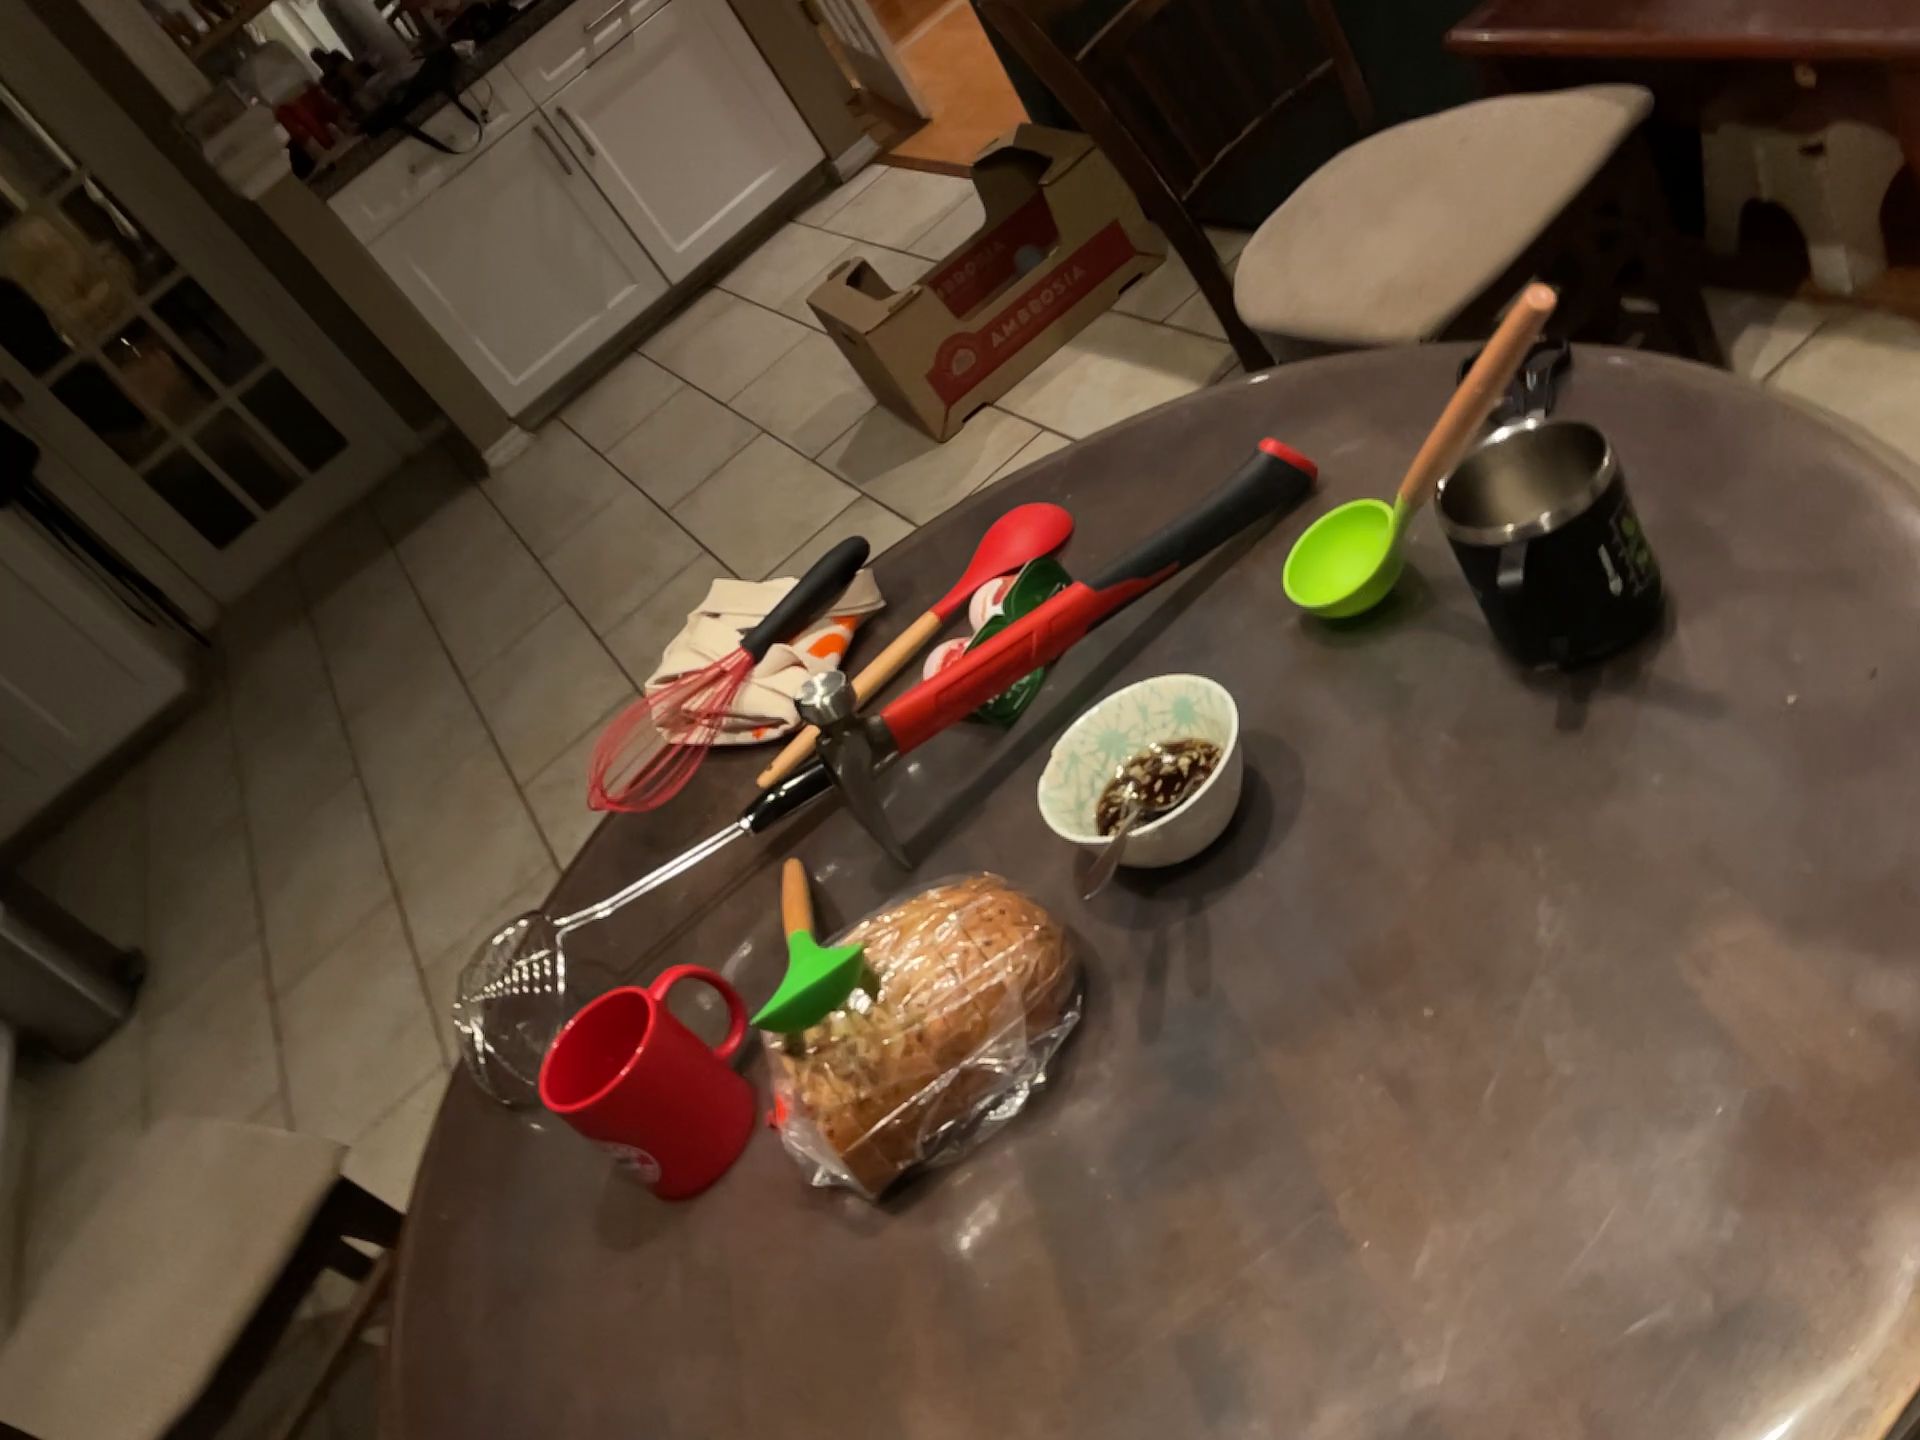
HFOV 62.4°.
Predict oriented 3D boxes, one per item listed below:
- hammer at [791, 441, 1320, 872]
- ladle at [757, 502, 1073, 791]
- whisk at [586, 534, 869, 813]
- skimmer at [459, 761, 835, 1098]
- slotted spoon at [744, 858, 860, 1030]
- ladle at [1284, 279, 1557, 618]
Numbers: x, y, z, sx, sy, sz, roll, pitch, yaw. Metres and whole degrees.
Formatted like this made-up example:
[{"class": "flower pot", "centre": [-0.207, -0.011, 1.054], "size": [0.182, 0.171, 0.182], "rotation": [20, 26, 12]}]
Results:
[{"class": "hammer", "centre": [0.081, -0.057, 1.028], "size": [0.386, 0.143, 0.038], "rotation": [-33, 32, -14]}, {"class": "ladle", "centre": [-0.036, -0.059, 1.187], "size": [0.315, 0.031, 0.069], "rotation": [-45, 33, -7]}, {"class": "whisk", "centre": [-0.174, -0.038, 1.200], "size": [0.296, 0.073, 0.073], "rotation": [-46, 32, -13]}, {"class": "skimmer", "centre": [-0.189, 0.124, 1.104], "size": [0.363, 0.090, 0.127], "rotation": [-31, 40, -9]}, {"class": "slotted spoon", "centre": [-0.093, 0.121, 0.924], "size": [0.070, 0.031, 0.314], "rotation": [-34, 10, -2]}, {"class": "ladle", "centre": [0.232, -0.135, 0.822], "size": [0.062, 0.320, 0.078], "rotation": [24, 72, 7]}]
